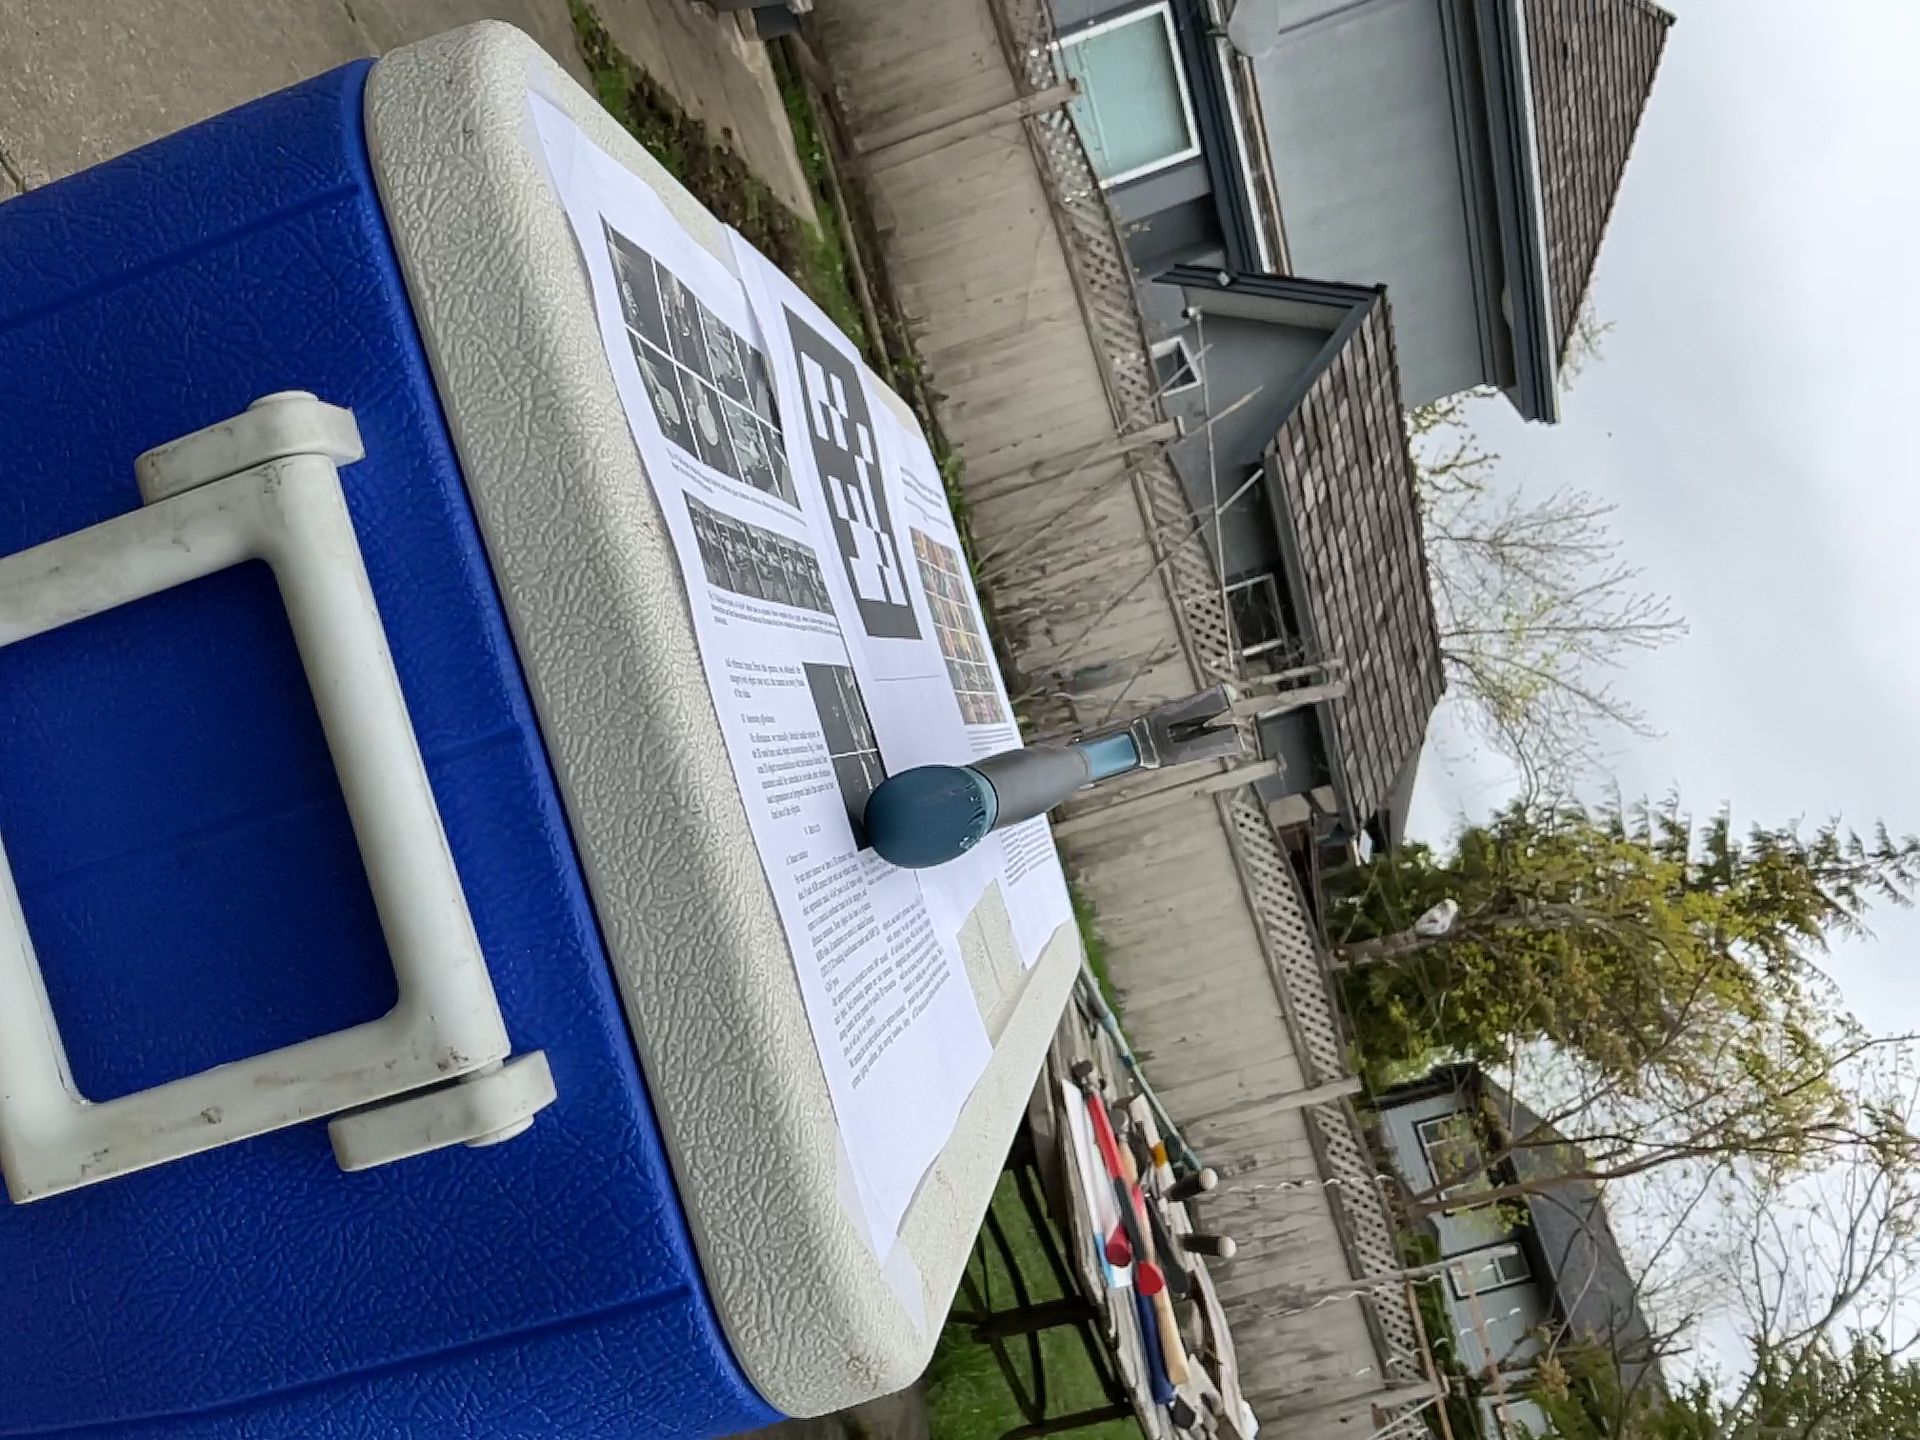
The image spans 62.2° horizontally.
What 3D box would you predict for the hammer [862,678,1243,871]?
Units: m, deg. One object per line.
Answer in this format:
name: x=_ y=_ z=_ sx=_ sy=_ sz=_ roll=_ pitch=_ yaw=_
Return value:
hammer: x=0.033 y=0.022 z=0.624 sx=0.331 sy=0.128 sz=0.033 roll=-9 pitch=80 yaw=-74
